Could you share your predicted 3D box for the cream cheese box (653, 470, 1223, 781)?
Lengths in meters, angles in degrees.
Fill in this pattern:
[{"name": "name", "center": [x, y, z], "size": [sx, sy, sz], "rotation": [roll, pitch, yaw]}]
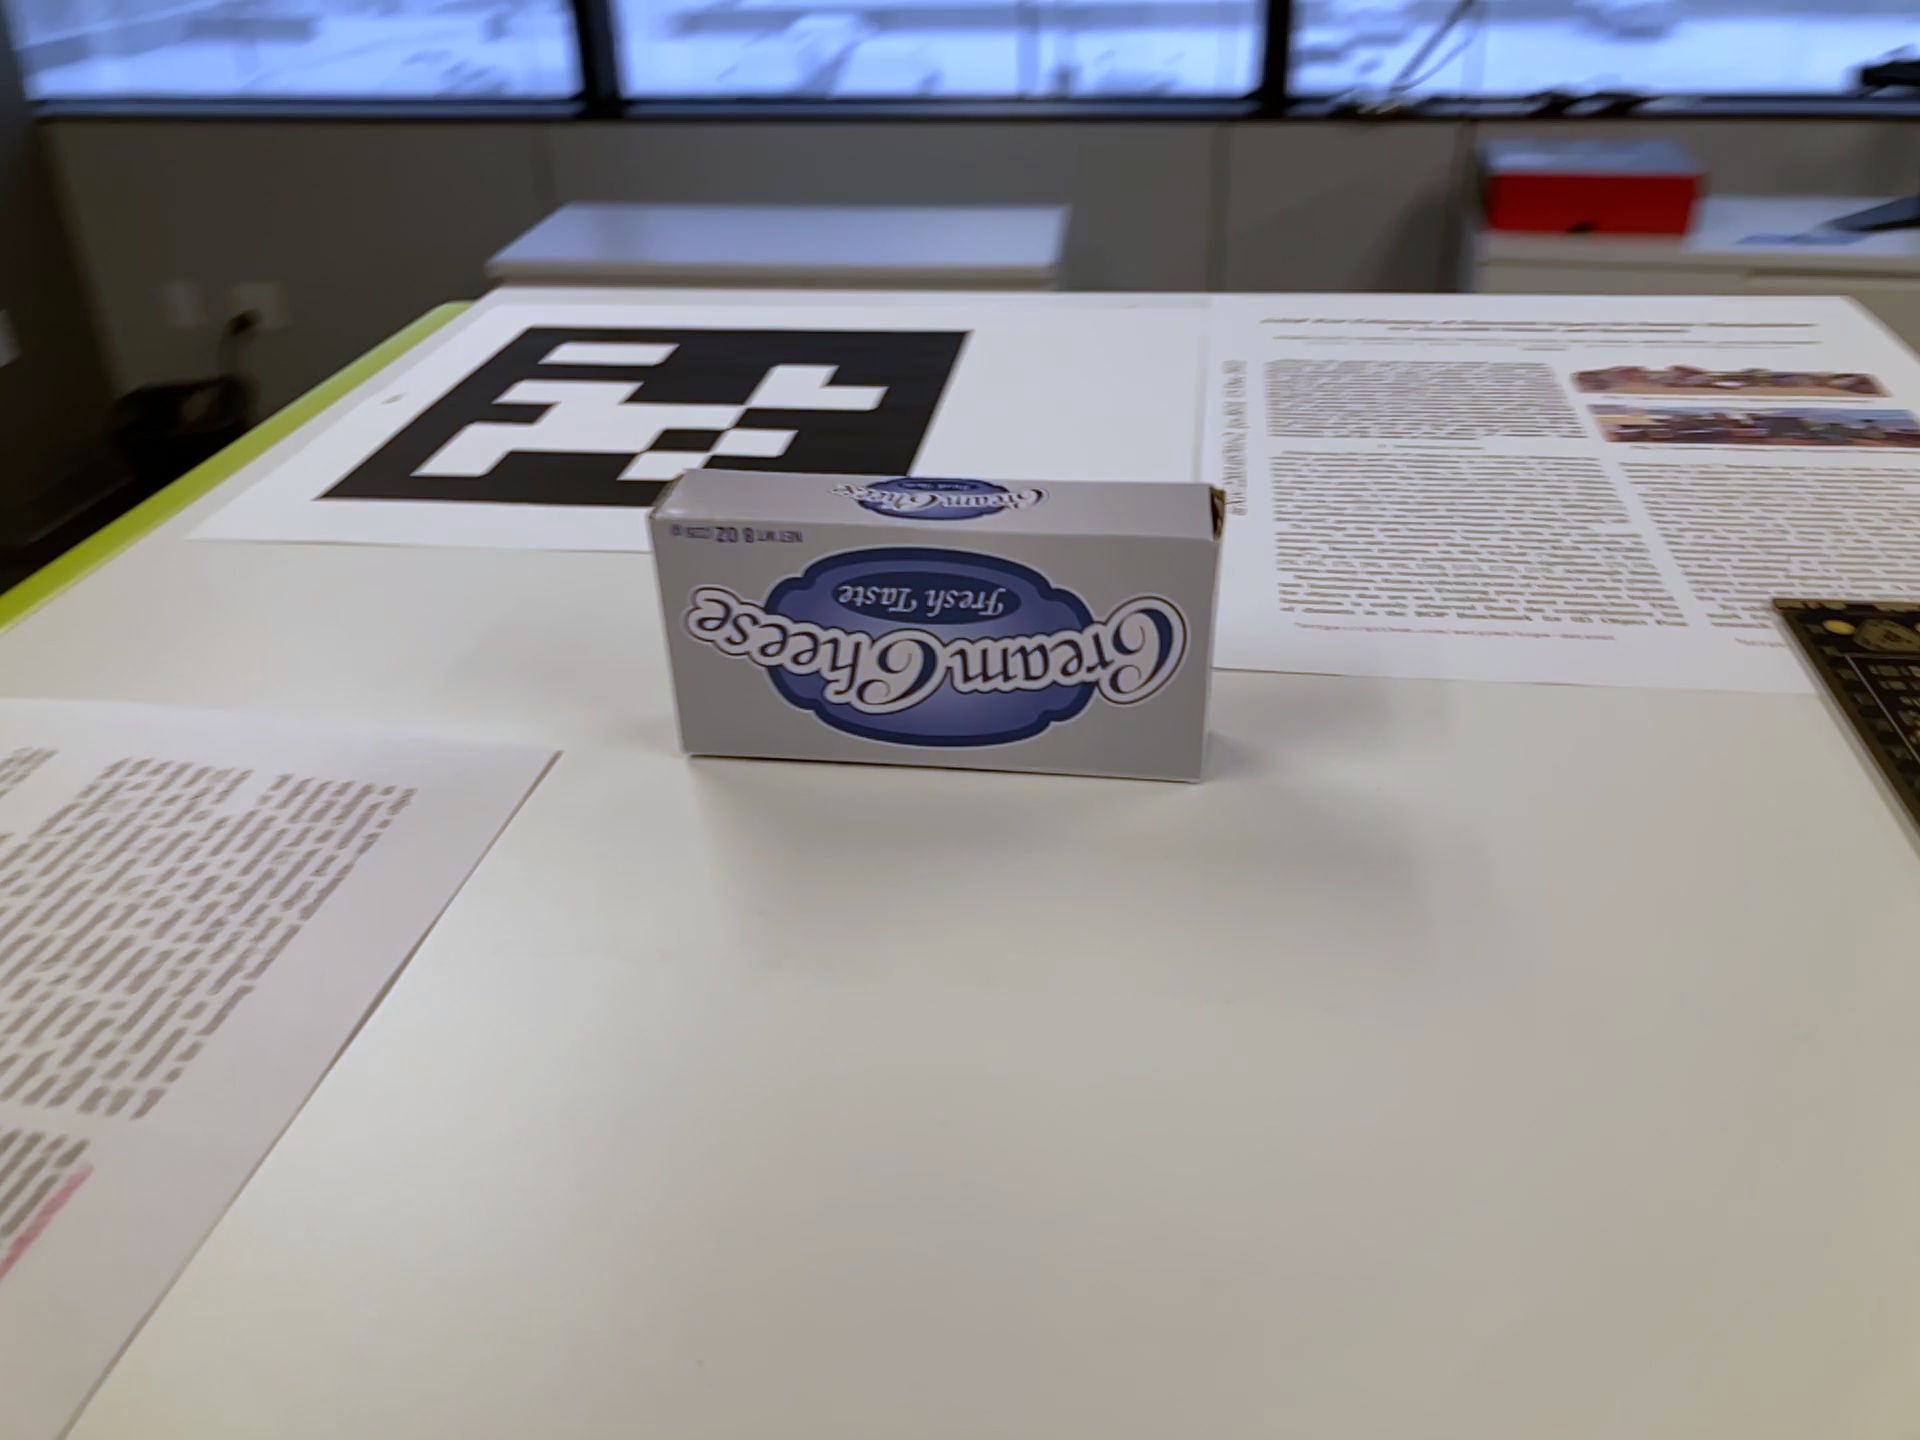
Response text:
[{"name": "cream cheese box", "center": [-0.003, -0.018, 0.306], "size": [0.104, 0.053, 0.024], "rotation": [3, 32, 8]}]
